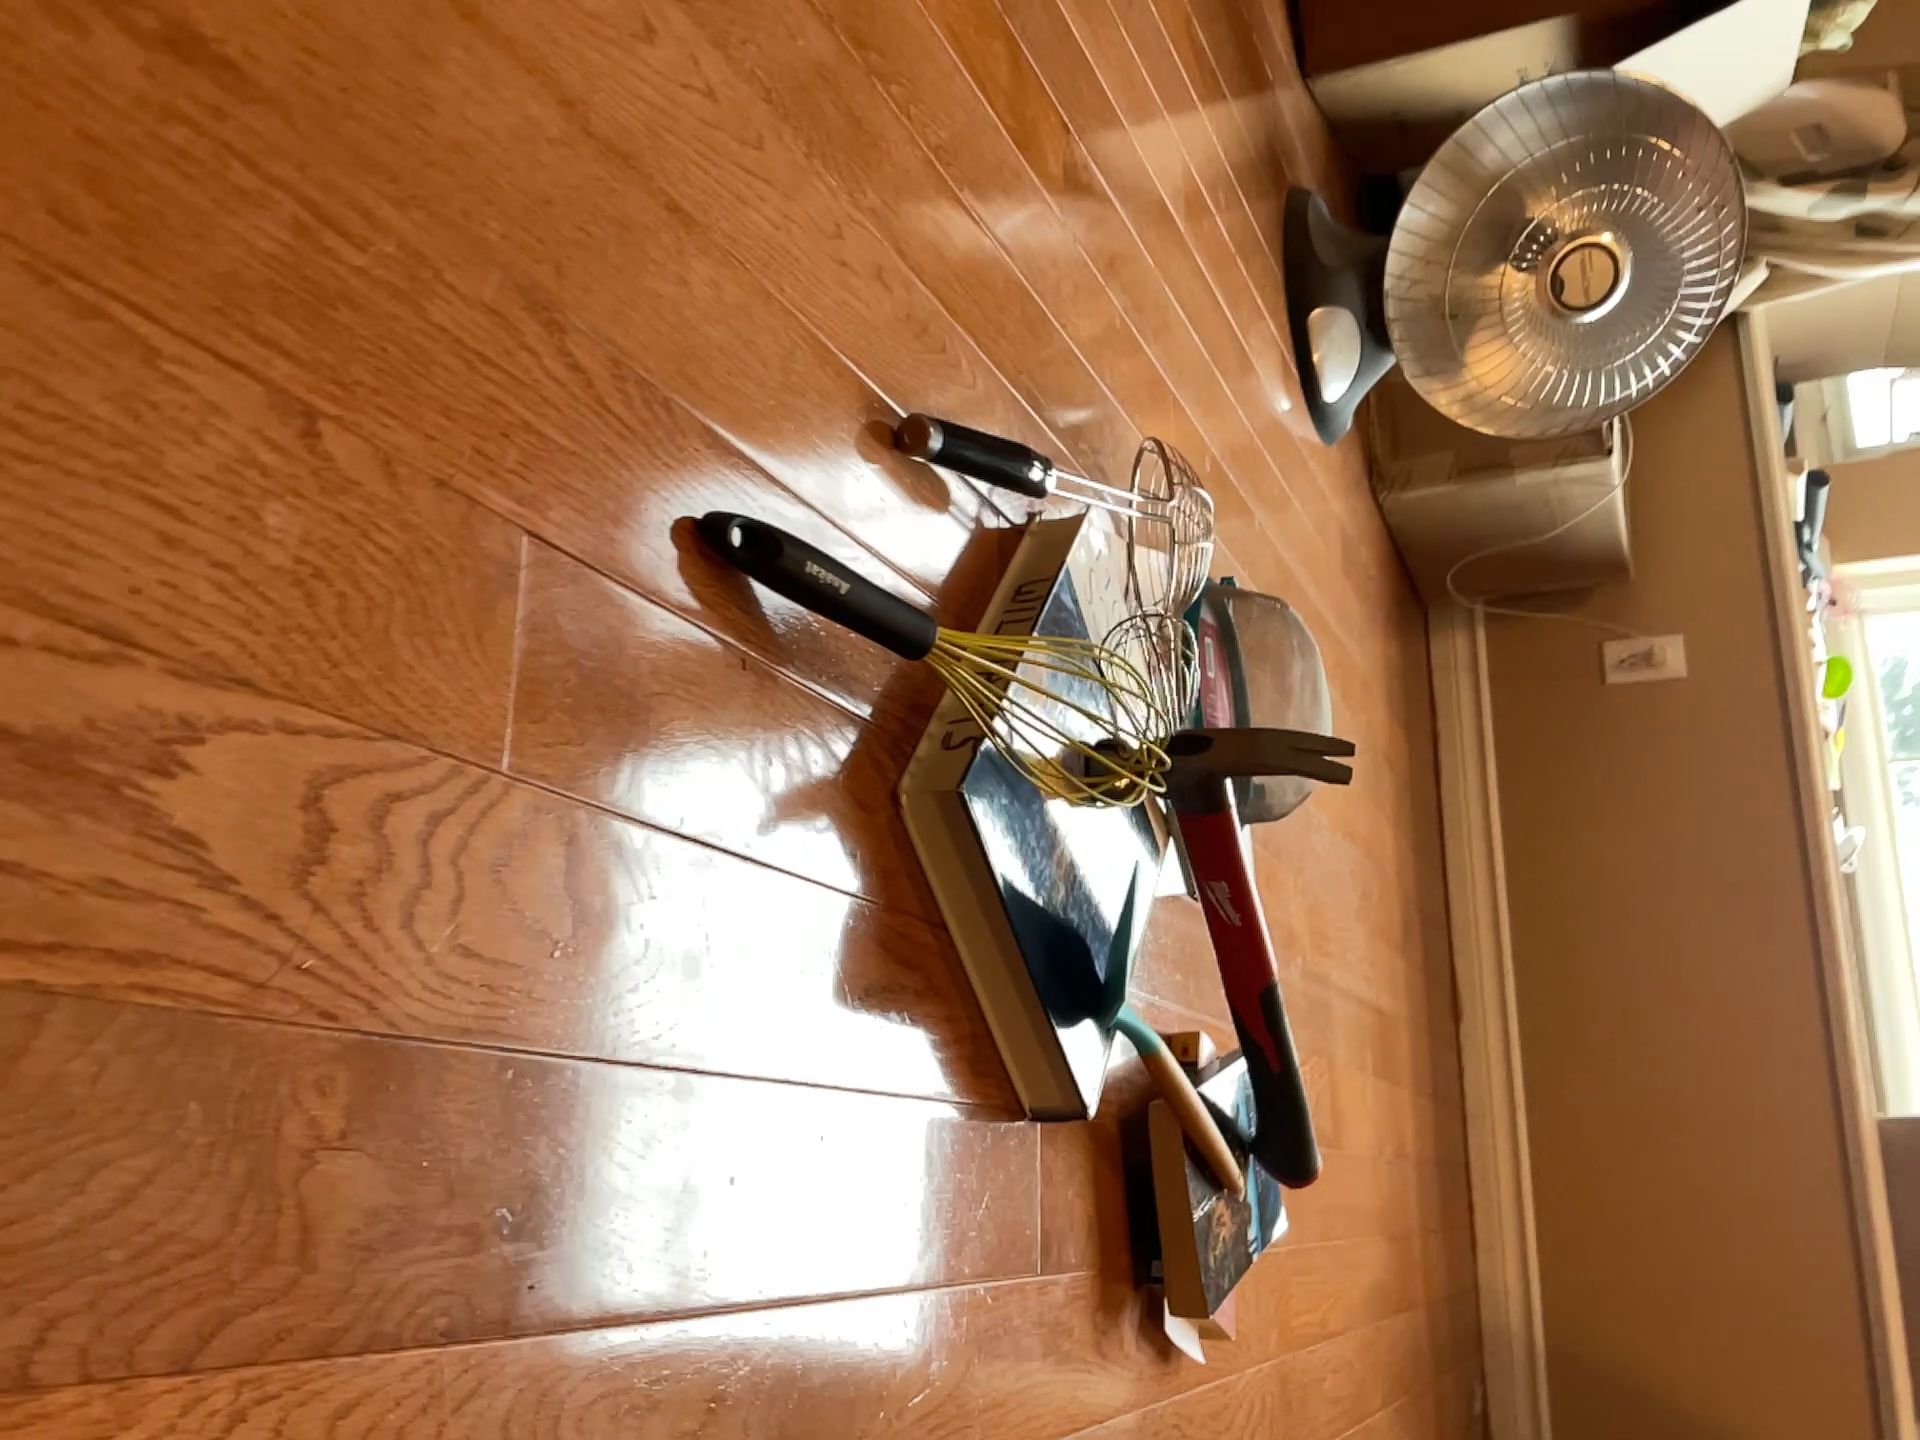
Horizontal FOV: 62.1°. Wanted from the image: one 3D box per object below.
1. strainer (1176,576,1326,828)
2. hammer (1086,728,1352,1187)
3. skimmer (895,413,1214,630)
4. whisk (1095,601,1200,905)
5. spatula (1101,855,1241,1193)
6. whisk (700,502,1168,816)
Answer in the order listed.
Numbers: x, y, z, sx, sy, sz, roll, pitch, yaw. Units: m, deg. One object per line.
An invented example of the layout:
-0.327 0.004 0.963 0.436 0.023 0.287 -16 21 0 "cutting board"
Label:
0.219 -0.004 1.183 0.340 0.095 0.211 -27 109 -73 "strainer"
0.190 0.159 0.968 0.038 0.143 0.386 -66 145 -44 "hammer"
0.054 -0.128 0.941 0.363 0.090 0.127 4 82 -55 "skimmer"
0.129 0.028 0.970 0.059 0.058 0.246 -117 -174 -51 "whisk"
0.125 0.198 0.905 0.317 0.044 0.083 59 31 -44 "spatula"
-0.001 -0.028 0.709 0.311 0.067 0.080 28 73 -46 "whisk"
